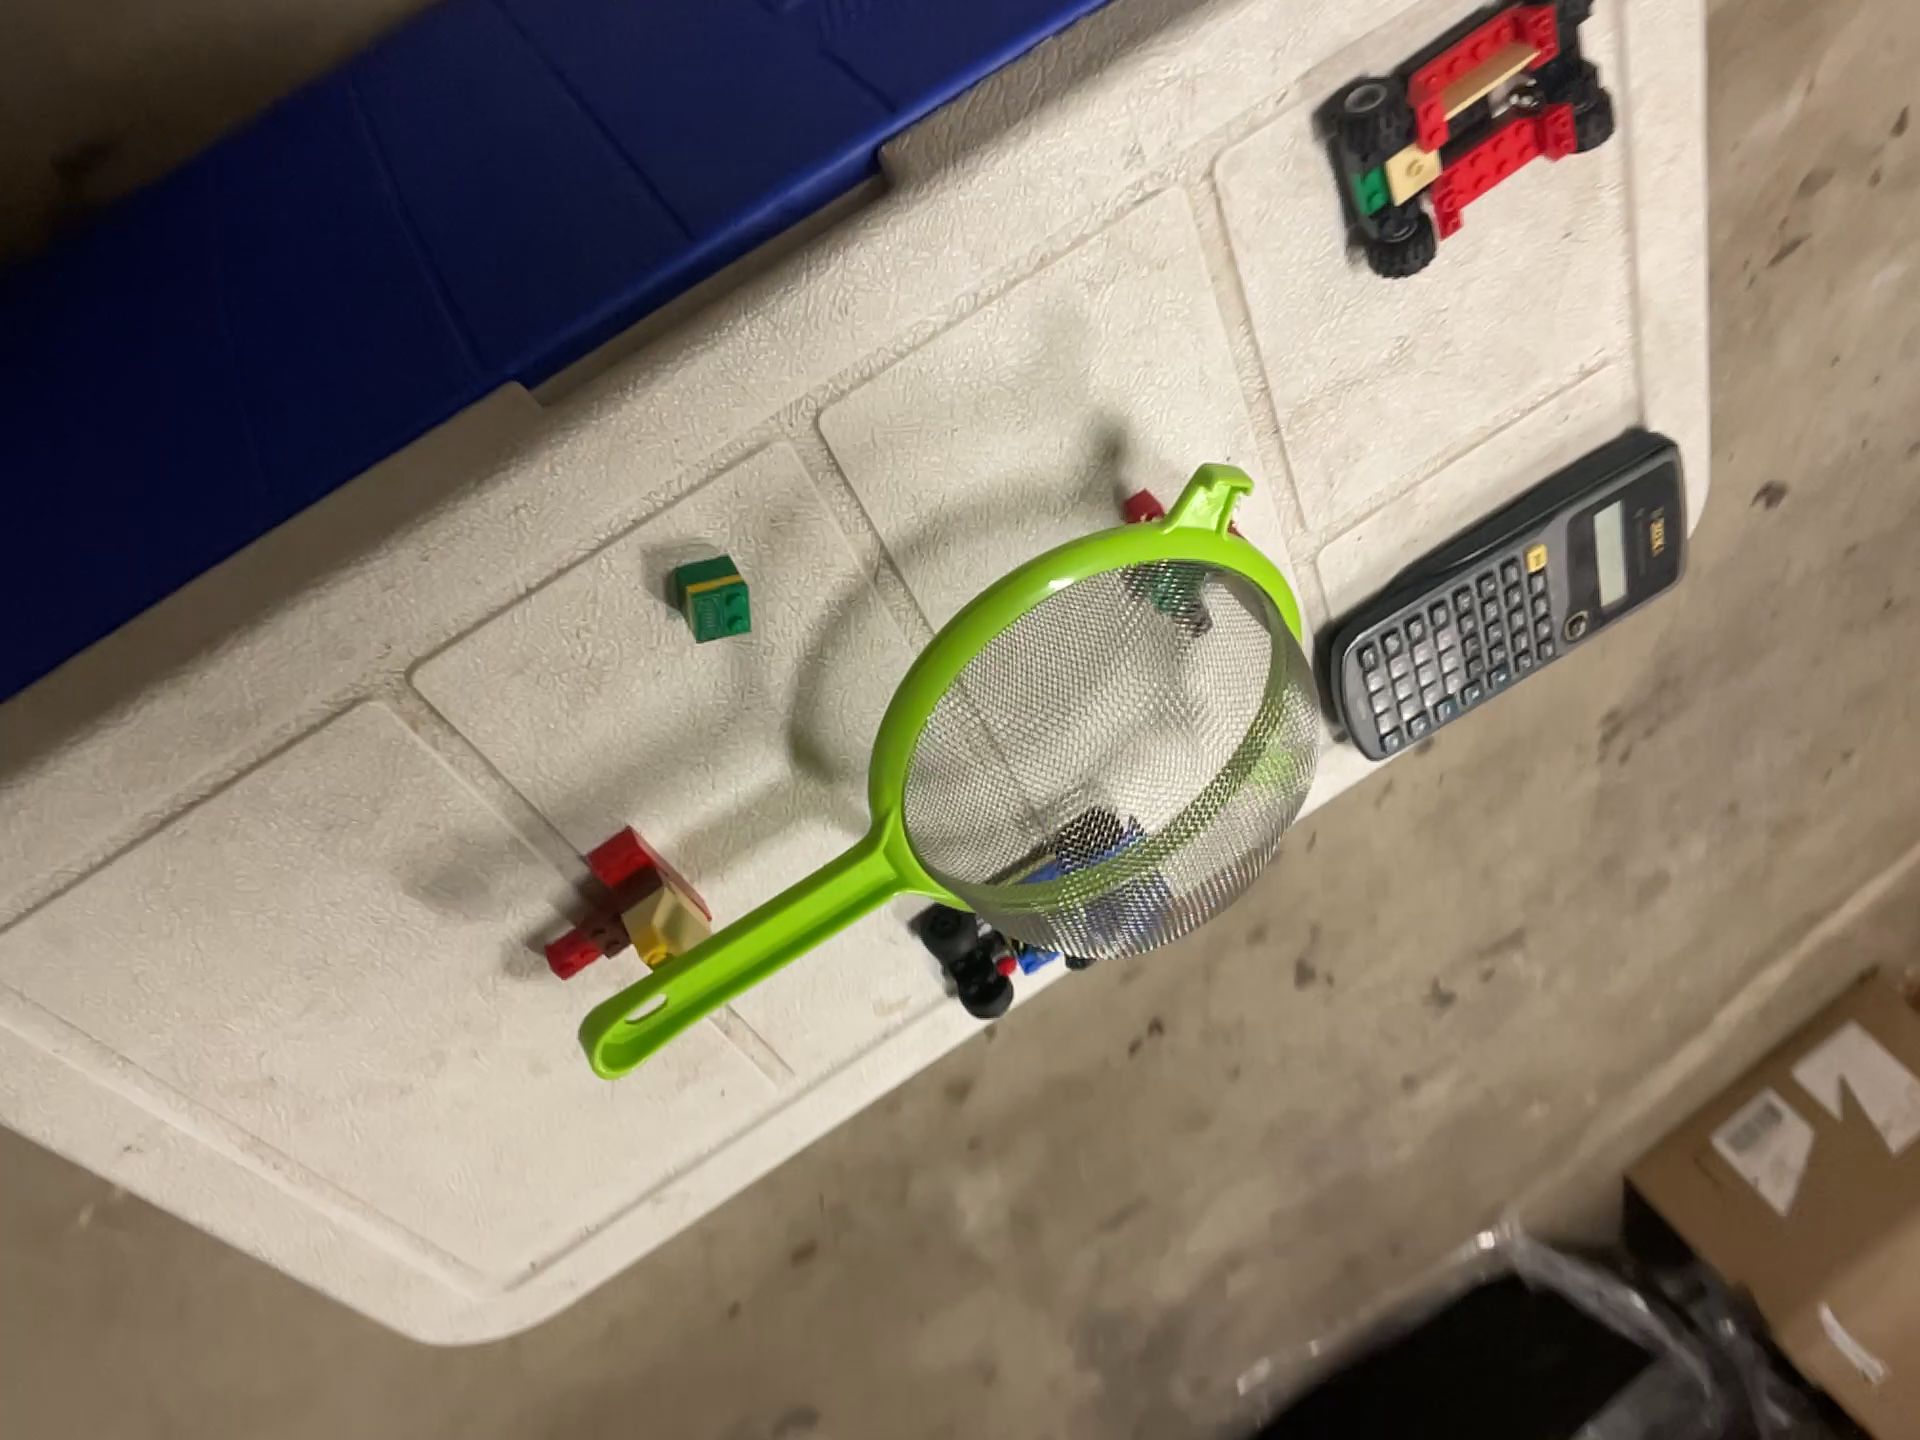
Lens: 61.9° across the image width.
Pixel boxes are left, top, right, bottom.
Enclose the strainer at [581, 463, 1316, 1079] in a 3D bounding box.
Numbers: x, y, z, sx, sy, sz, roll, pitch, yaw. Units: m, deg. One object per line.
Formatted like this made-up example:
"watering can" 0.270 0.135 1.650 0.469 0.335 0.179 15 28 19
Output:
"strainer" 0.008 0.047 0.475 0.256 0.069 0.151 -32 138 -6
